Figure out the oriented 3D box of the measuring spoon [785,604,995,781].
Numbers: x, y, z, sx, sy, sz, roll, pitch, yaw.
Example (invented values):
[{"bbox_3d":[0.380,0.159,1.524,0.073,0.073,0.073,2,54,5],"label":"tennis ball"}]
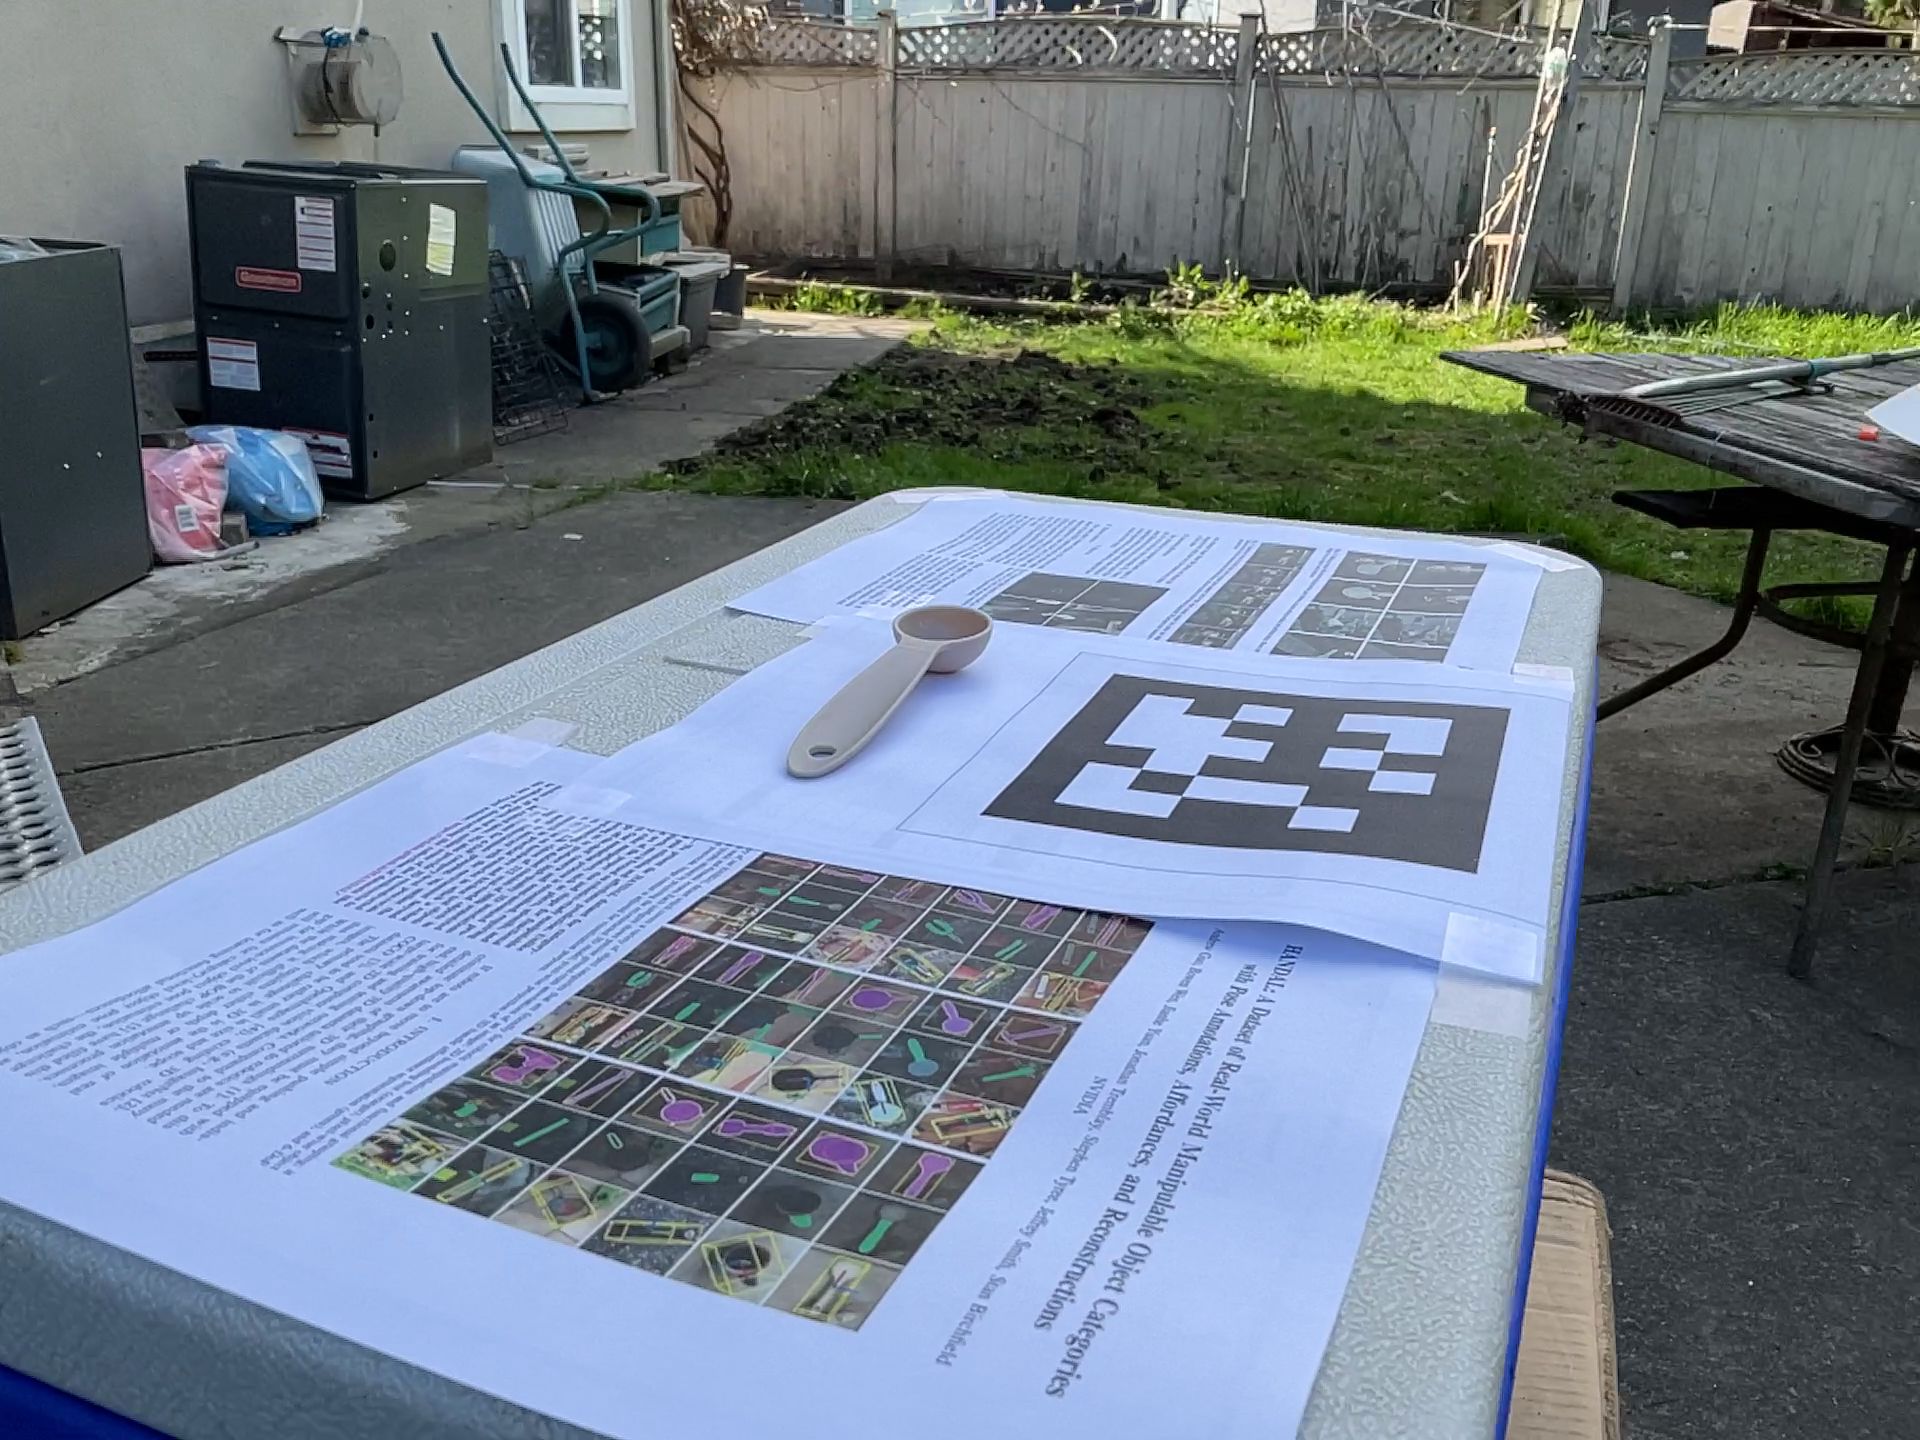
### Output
[{"bbox_3d":[-0.022,-0.006,0.498,0.034,0.018,0.124,10,29,20],"label":"measuring spoon"}]
